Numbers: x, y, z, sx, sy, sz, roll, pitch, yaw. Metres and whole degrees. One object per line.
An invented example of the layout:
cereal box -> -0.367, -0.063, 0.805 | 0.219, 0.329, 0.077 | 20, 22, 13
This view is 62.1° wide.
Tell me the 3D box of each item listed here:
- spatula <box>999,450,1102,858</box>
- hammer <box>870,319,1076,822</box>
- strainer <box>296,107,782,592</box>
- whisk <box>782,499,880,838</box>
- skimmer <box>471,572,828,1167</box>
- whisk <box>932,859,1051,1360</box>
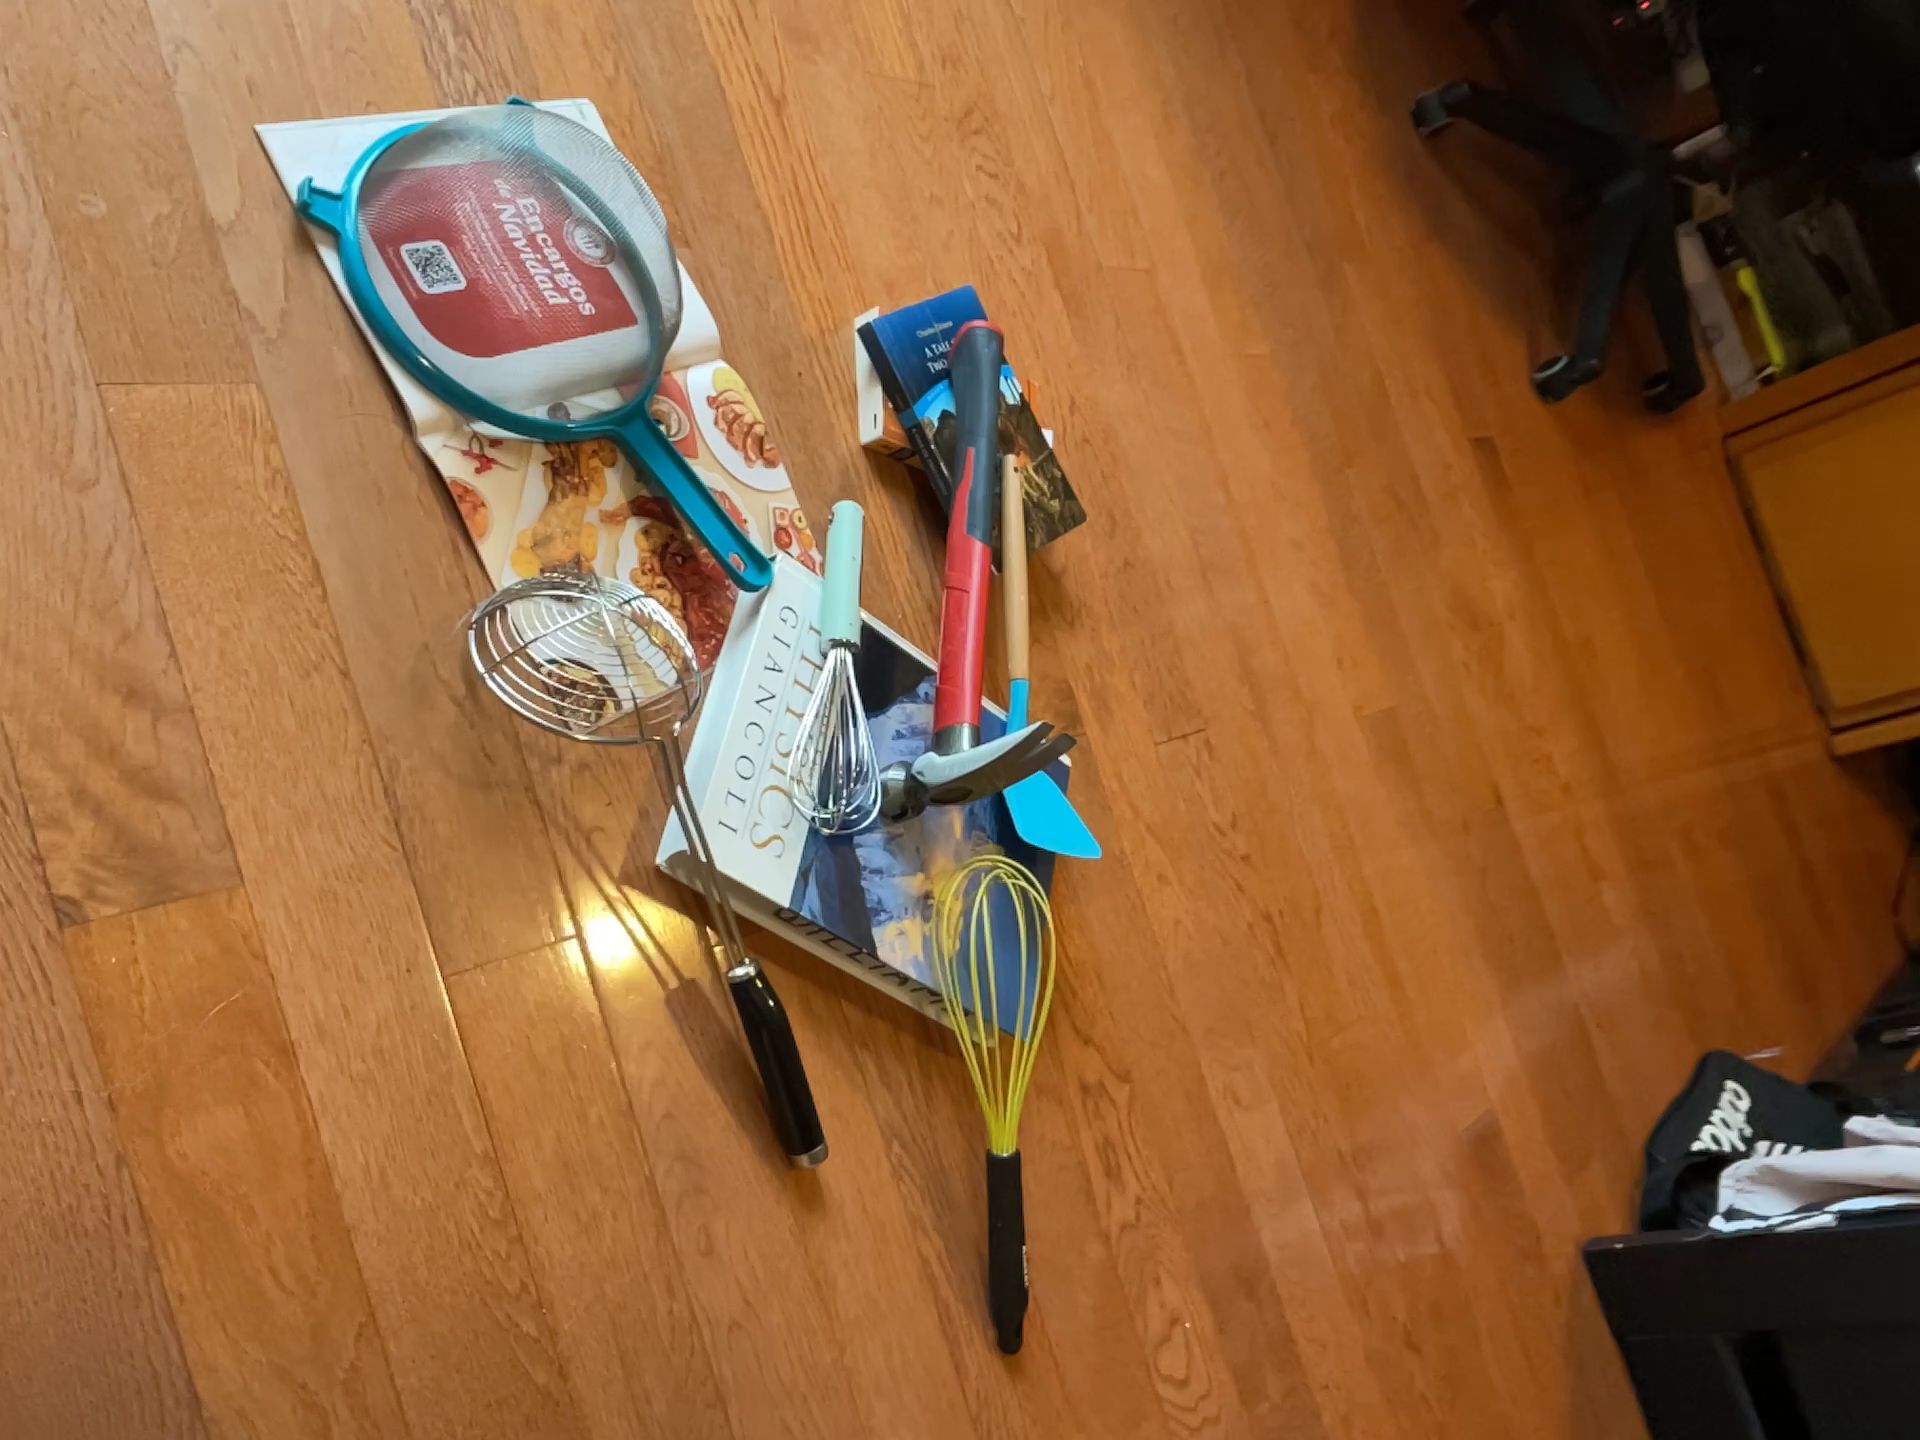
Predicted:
spatula -> 0.048, -0.054, 1.123 | 0.082, 0.044, 0.318 | 17, 61, -39
hammer -> 0.017, -0.124, 1.061 | 0.038, 0.143, 0.387 | 32, 50, -38
strainer -> -0.202, -0.226, 0.939 | 0.340, 0.095, 0.211 | 50, 43, -9
whisk -> -0.075, -0.037, 0.991 | 0.059, 0.057, 0.247 | 7, 59, -11
skimmer -> -0.164, 0.088, 0.906 | 0.127, 0.090, 0.363 | -32, 108, -51
whisk -> 0.026, 0.242, 0.991 | 0.080, 0.067, 0.312 | -5, 91, -63
